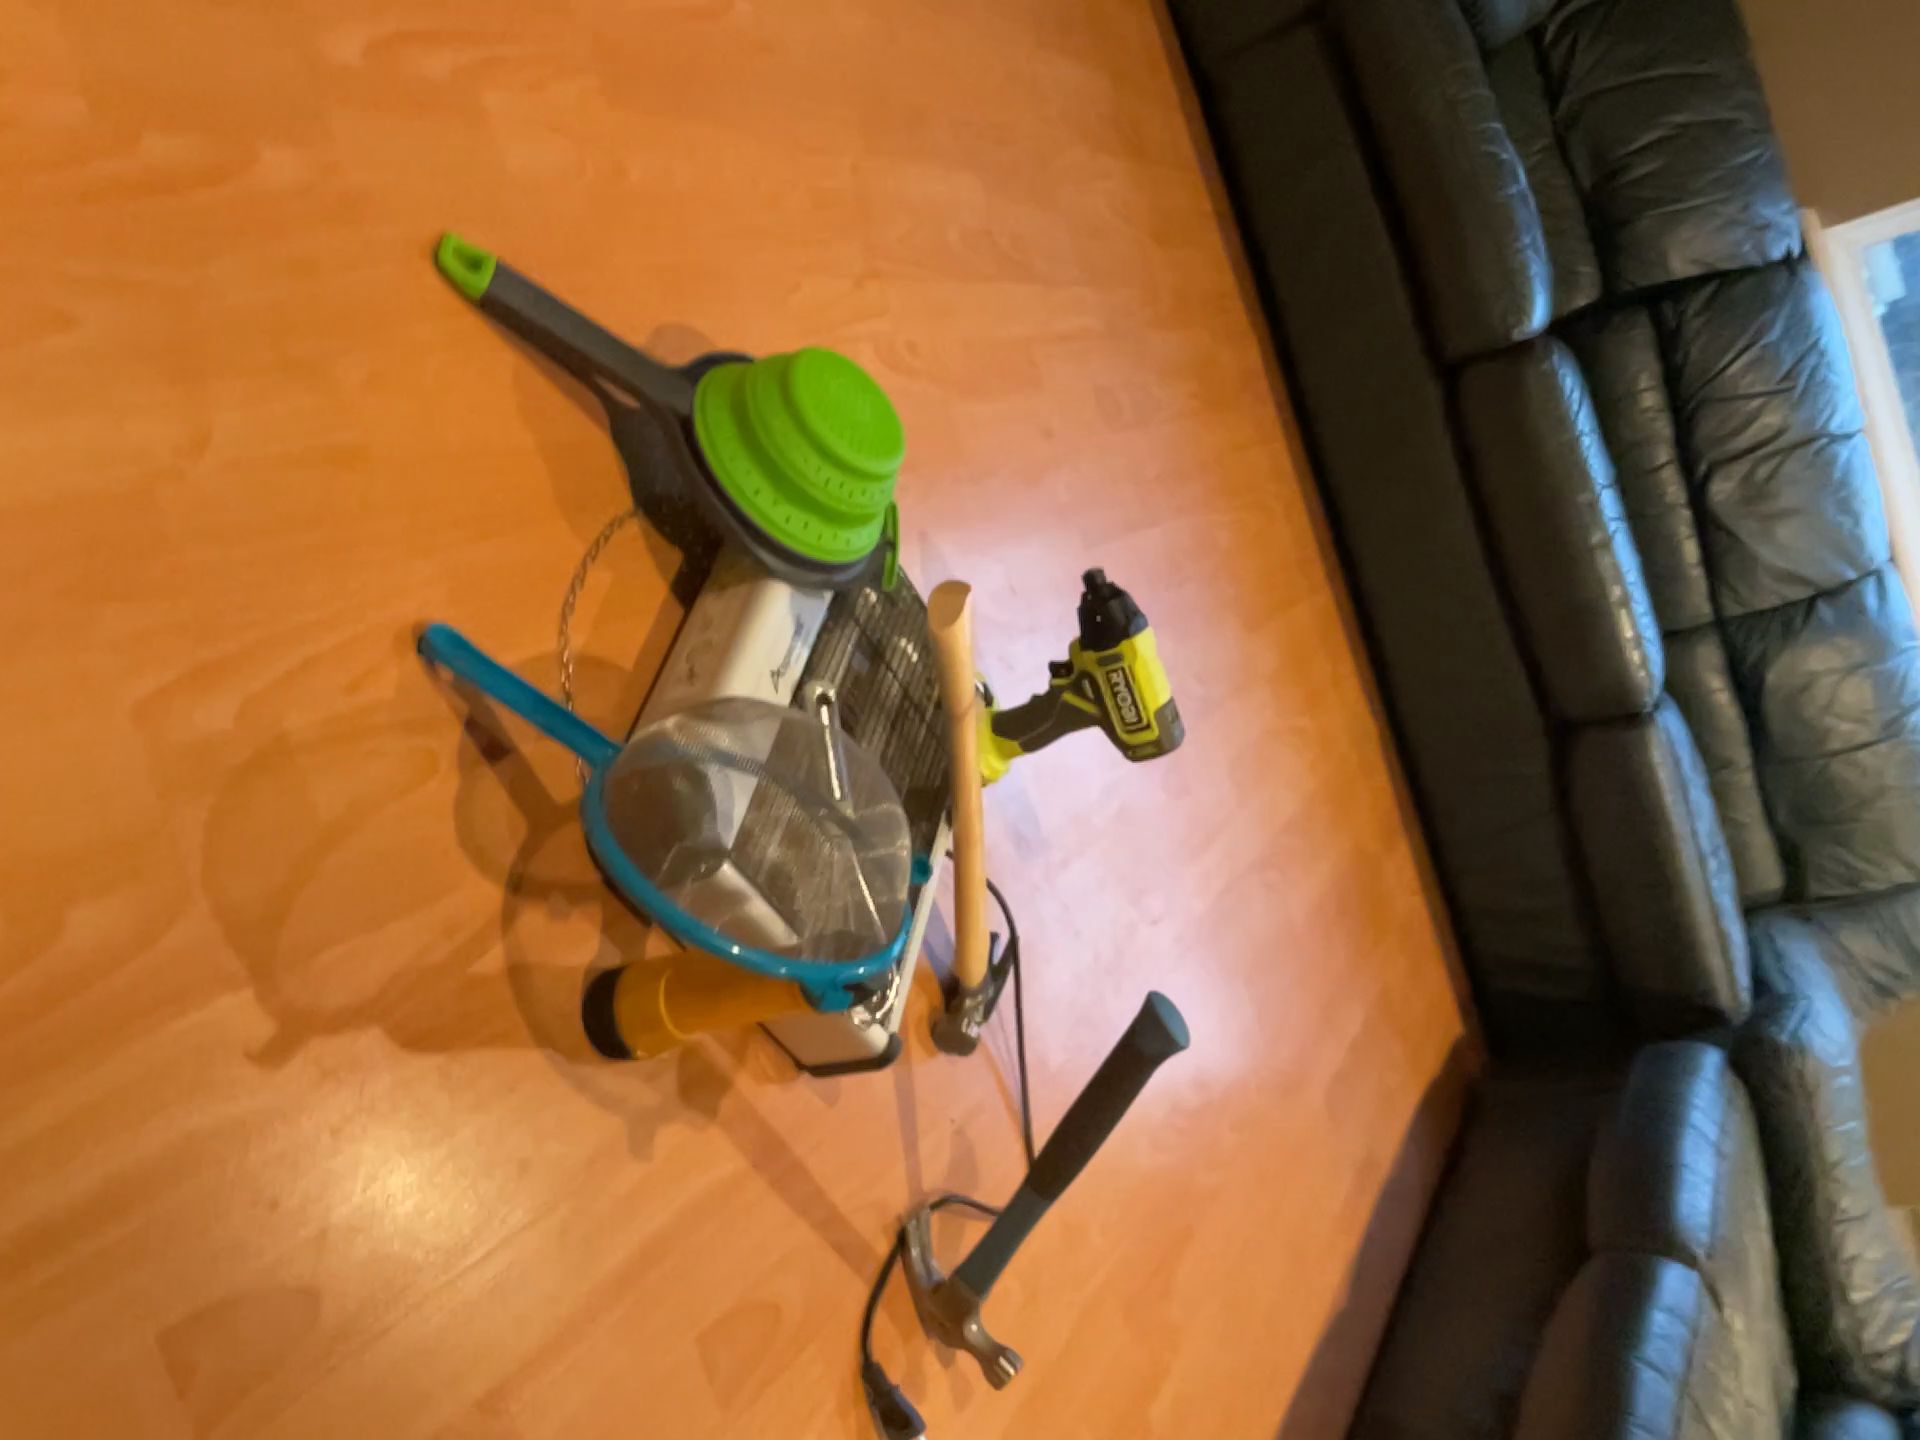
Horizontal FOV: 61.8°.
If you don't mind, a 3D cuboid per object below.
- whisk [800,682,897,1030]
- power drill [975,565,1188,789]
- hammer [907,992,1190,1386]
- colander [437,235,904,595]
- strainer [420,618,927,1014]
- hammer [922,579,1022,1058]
[{"bbox_3d":[-0.082,0.090,1.104,0.058,0.059,0.246,0,71,-30],"label":"whisk"},{"bbox_3d":[0.072,-0.031,1.416,0.080,0.223,0.171,-36,108,-60],"label":"power drill"},{"bbox_3d":[0.068,0.333,1.174,0.128,0.330,0.033,39,22,19],"label":"hammer"},{"bbox_3d":[-0.170,-0.237,1.131,0.397,0.094,0.205,31,42,-30],"label":"colander"},{"bbox_3d":[-0.159,0.015,0.938,0.340,0.095,0.211,35,22,1],"label":"strainer"},{"bbox_3d":[0.007,0.072,1.286,0.146,0.038,0.410,-58,150,-52],"label":"hammer"}]
